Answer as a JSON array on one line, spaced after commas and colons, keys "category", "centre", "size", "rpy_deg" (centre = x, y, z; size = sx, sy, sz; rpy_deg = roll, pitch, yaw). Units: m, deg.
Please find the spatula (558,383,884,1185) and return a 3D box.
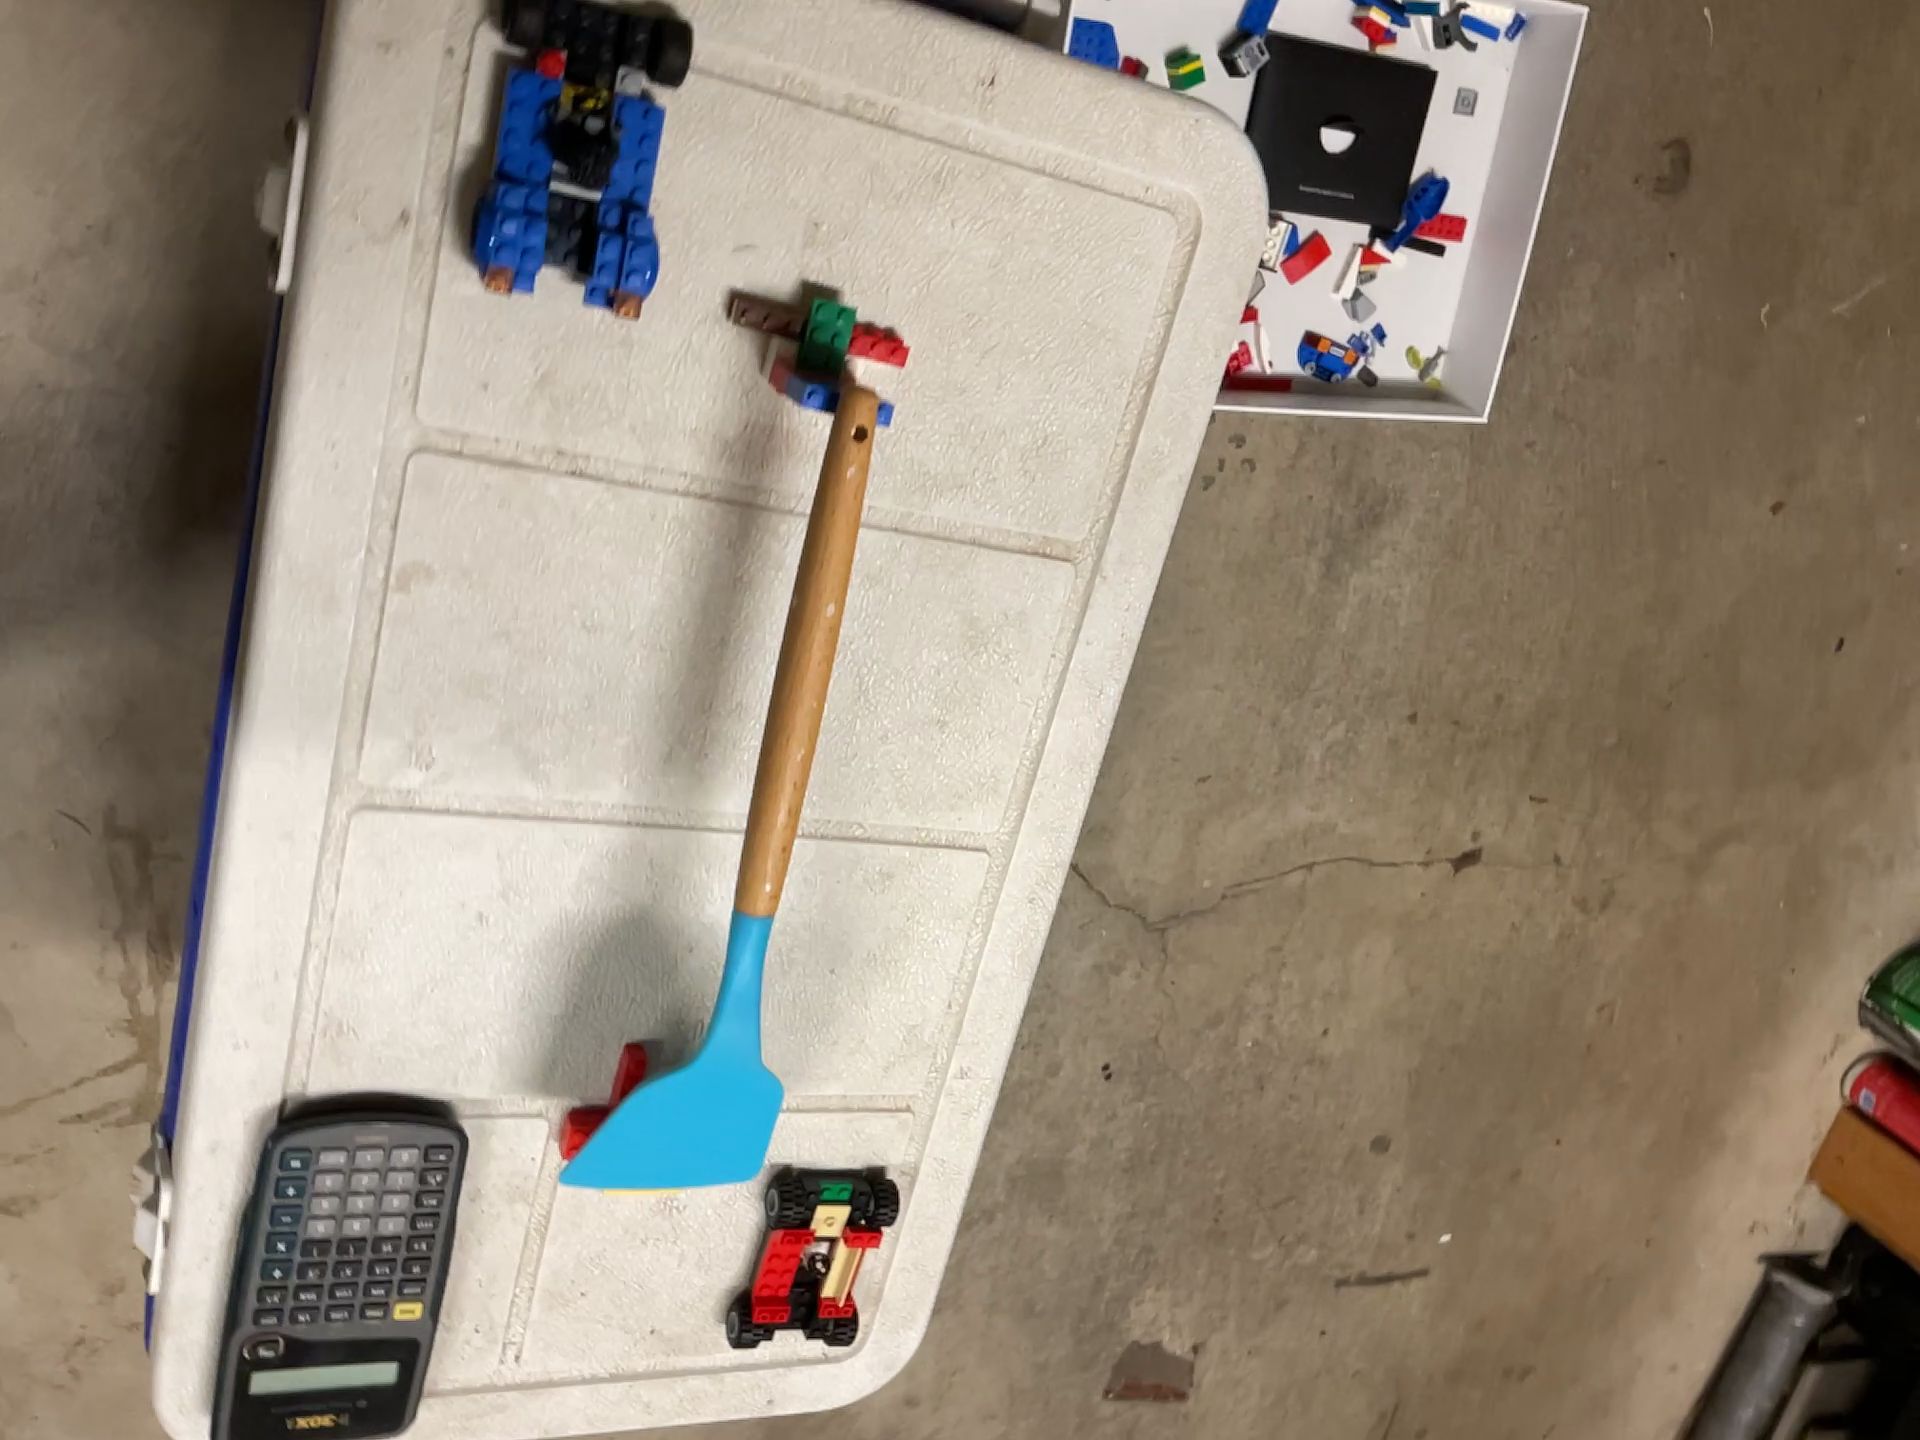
[{"category": "spatula", "centre": [-0.072, 0.038, 0.563], "size": [0.082, 0.044, 0.317], "rpy_deg": [7, 106, -26]}]
